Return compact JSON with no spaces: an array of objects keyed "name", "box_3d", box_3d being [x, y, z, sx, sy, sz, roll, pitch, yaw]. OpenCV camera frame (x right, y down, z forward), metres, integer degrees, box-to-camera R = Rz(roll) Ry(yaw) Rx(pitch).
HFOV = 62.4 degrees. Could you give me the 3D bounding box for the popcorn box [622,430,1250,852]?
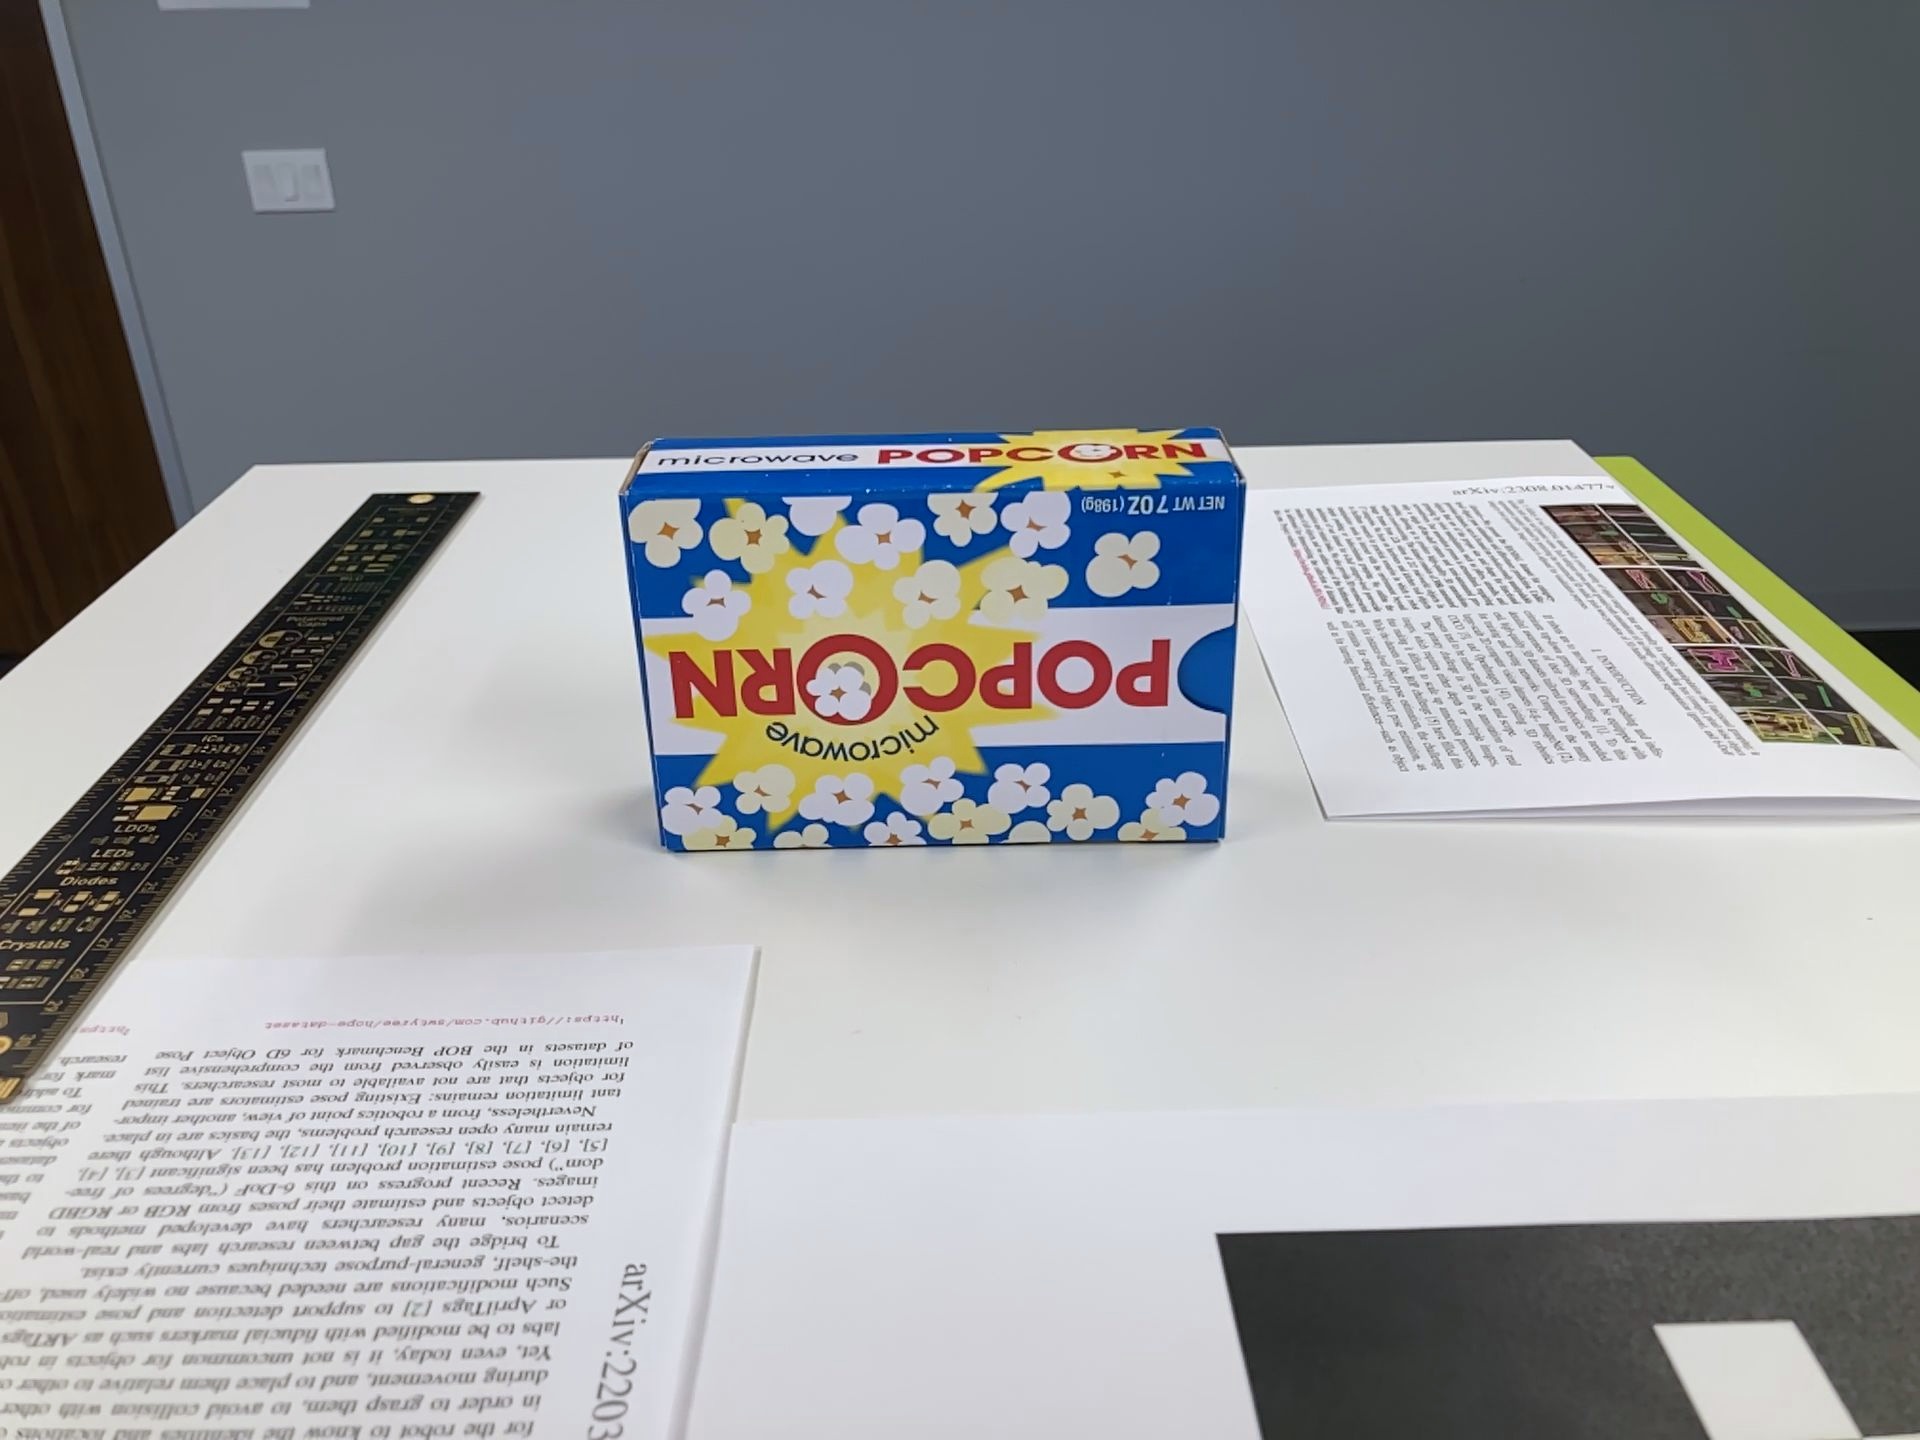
[{"name":"popcorn box","box_3d":[-0.005,-0.017,0.347,0.126,0.085,0.038,-1,26,0]}]
